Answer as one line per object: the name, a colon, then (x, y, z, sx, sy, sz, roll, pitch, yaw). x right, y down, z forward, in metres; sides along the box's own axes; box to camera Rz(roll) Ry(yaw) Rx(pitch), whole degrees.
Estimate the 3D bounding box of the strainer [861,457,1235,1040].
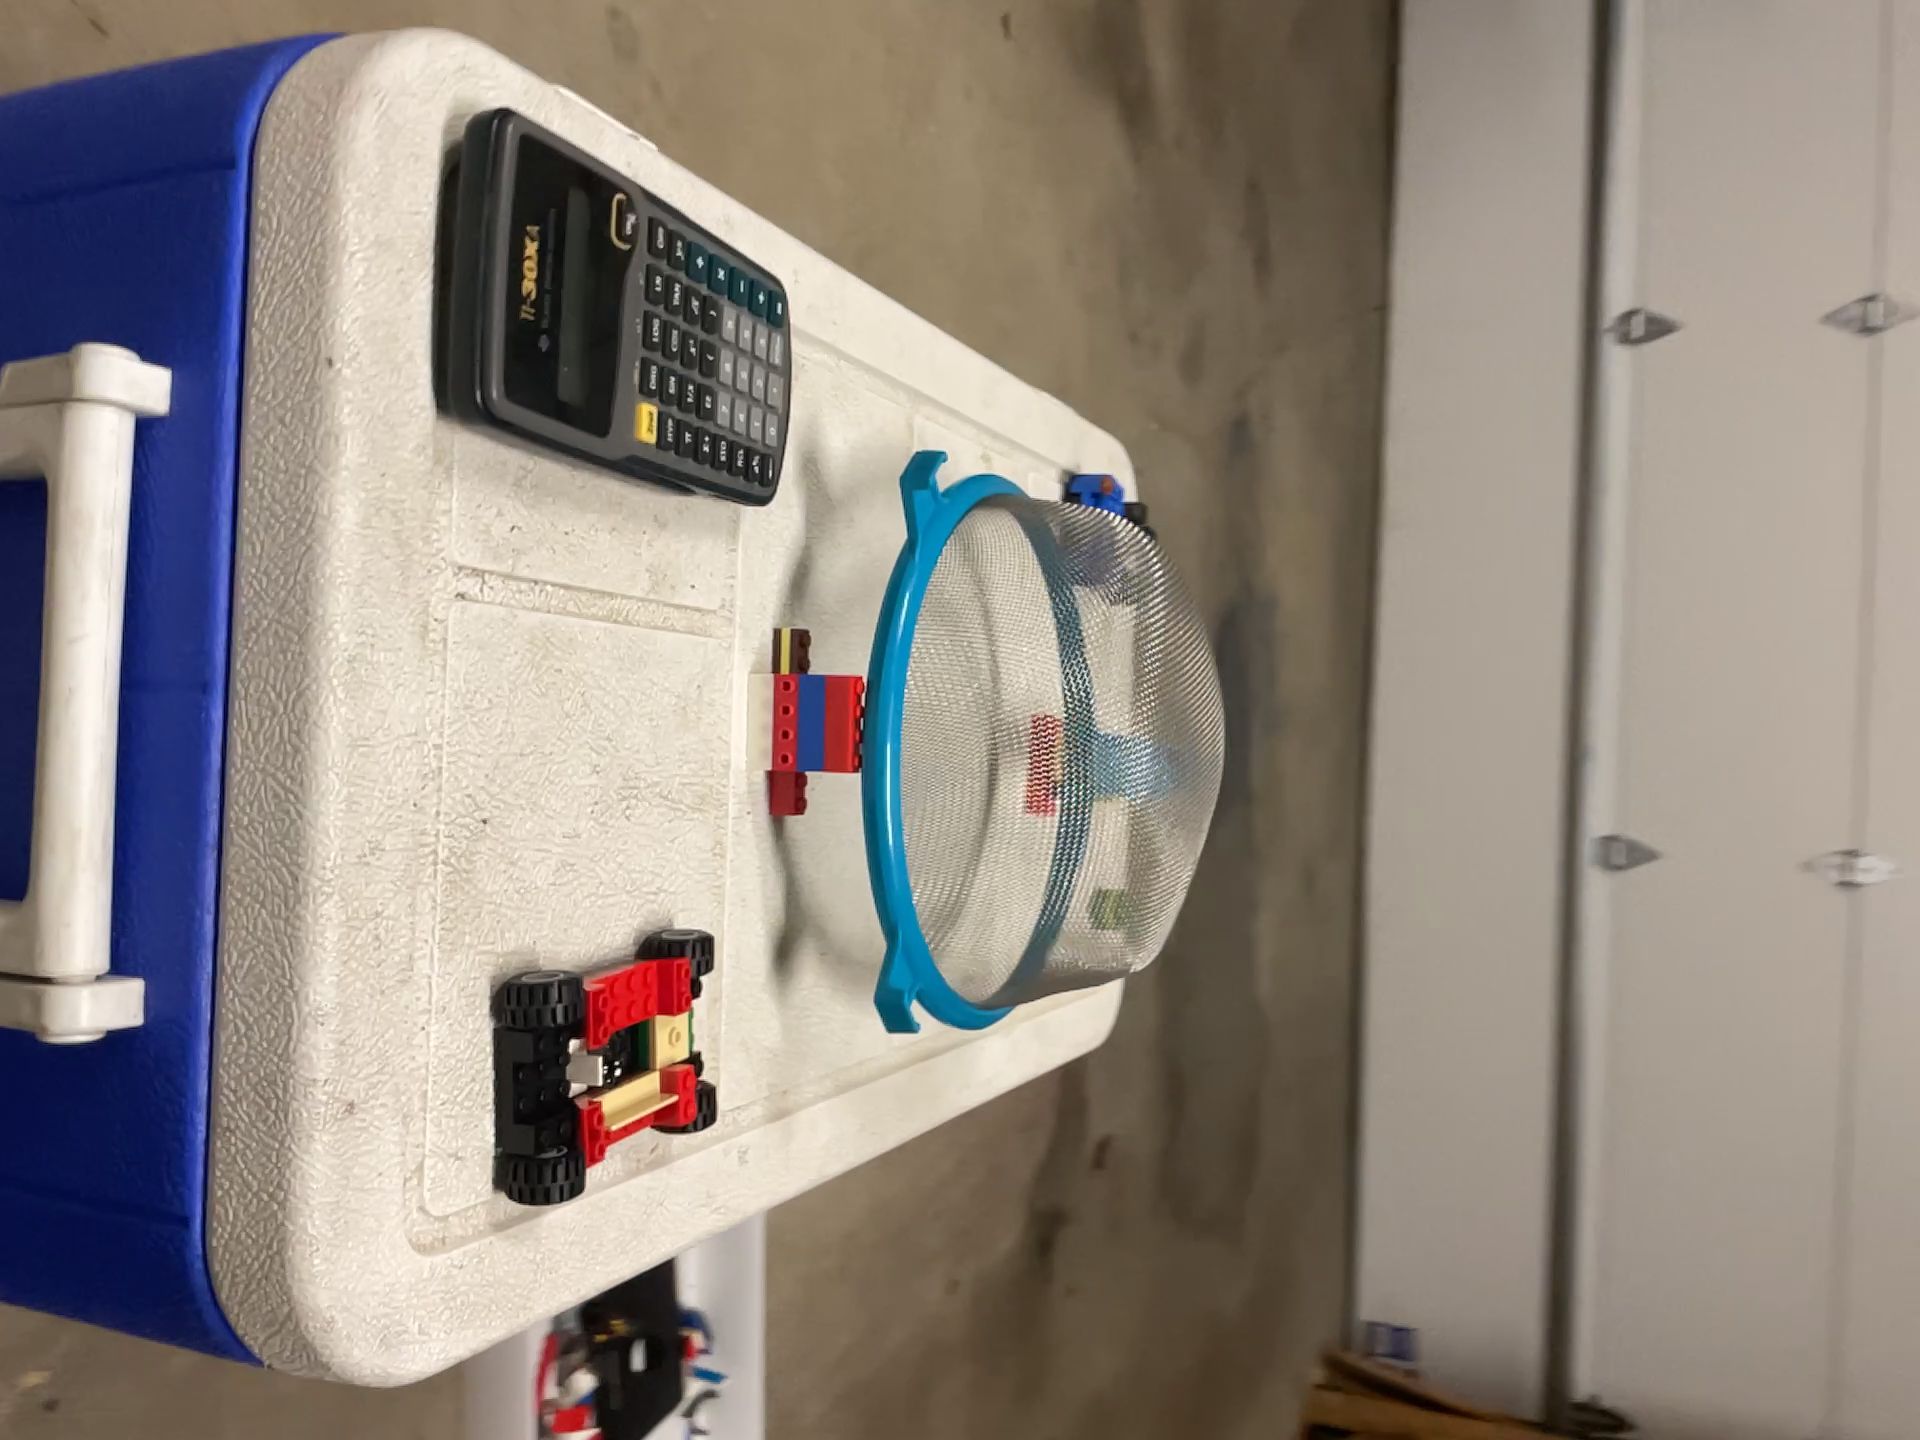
strainer: (0.076, 0.019, 0.654, 0.340, 0.095, 0.211, 9, 83, -65)
